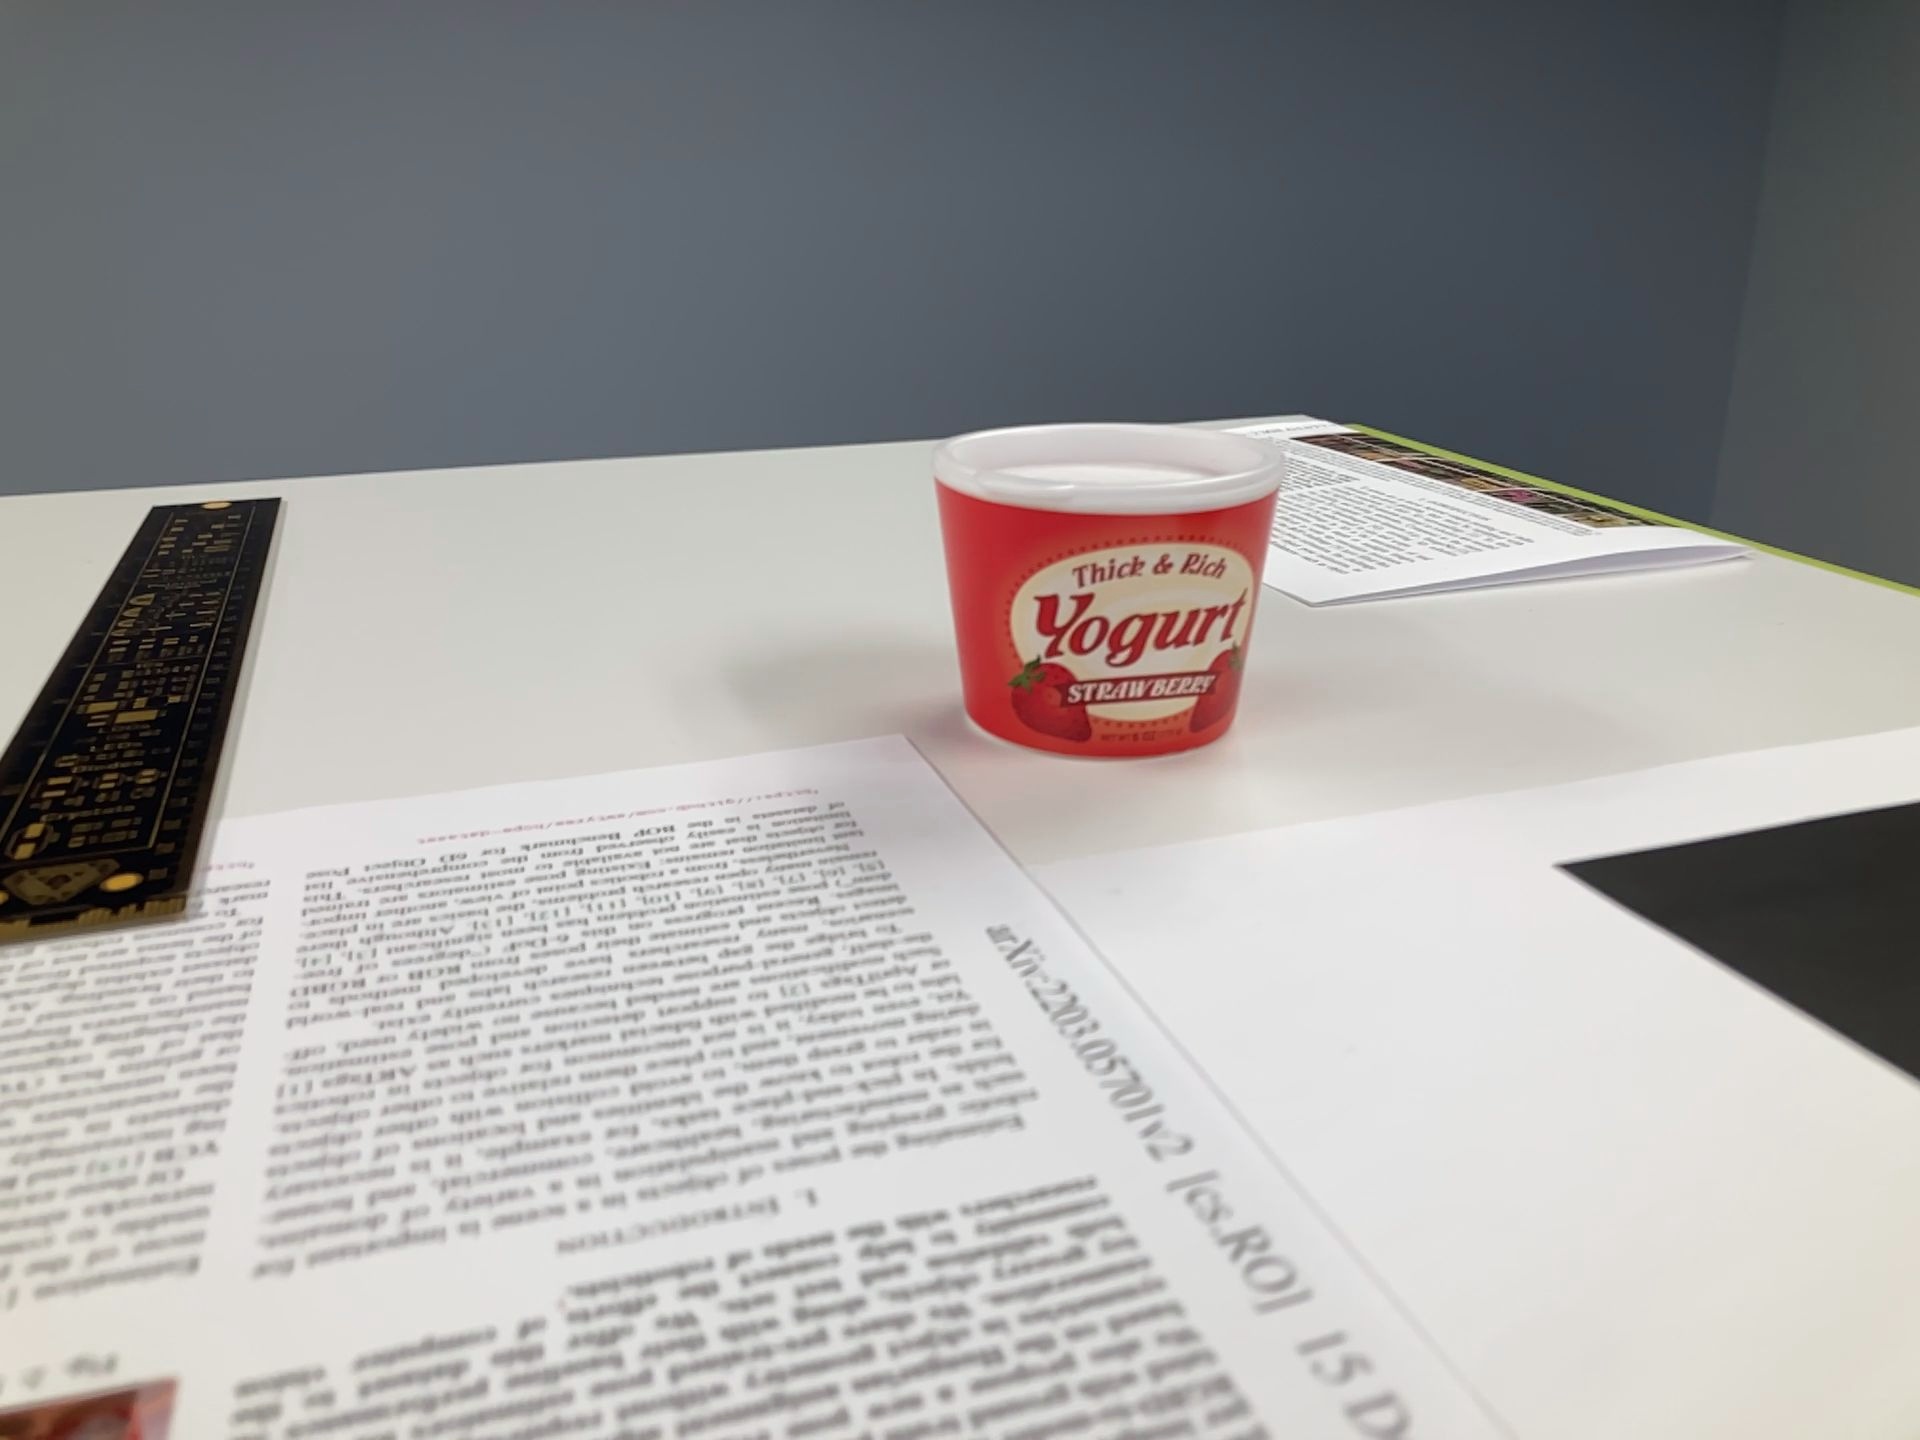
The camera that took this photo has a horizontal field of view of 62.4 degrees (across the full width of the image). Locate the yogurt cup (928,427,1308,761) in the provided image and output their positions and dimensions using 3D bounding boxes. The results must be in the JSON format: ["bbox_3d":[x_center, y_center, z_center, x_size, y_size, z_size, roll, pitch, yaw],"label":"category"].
[{"bbox_3d":[0.028,-0.026,0.308,0.072,0.054,0.072,0,19,0],"label":"yogurt cup"}]
